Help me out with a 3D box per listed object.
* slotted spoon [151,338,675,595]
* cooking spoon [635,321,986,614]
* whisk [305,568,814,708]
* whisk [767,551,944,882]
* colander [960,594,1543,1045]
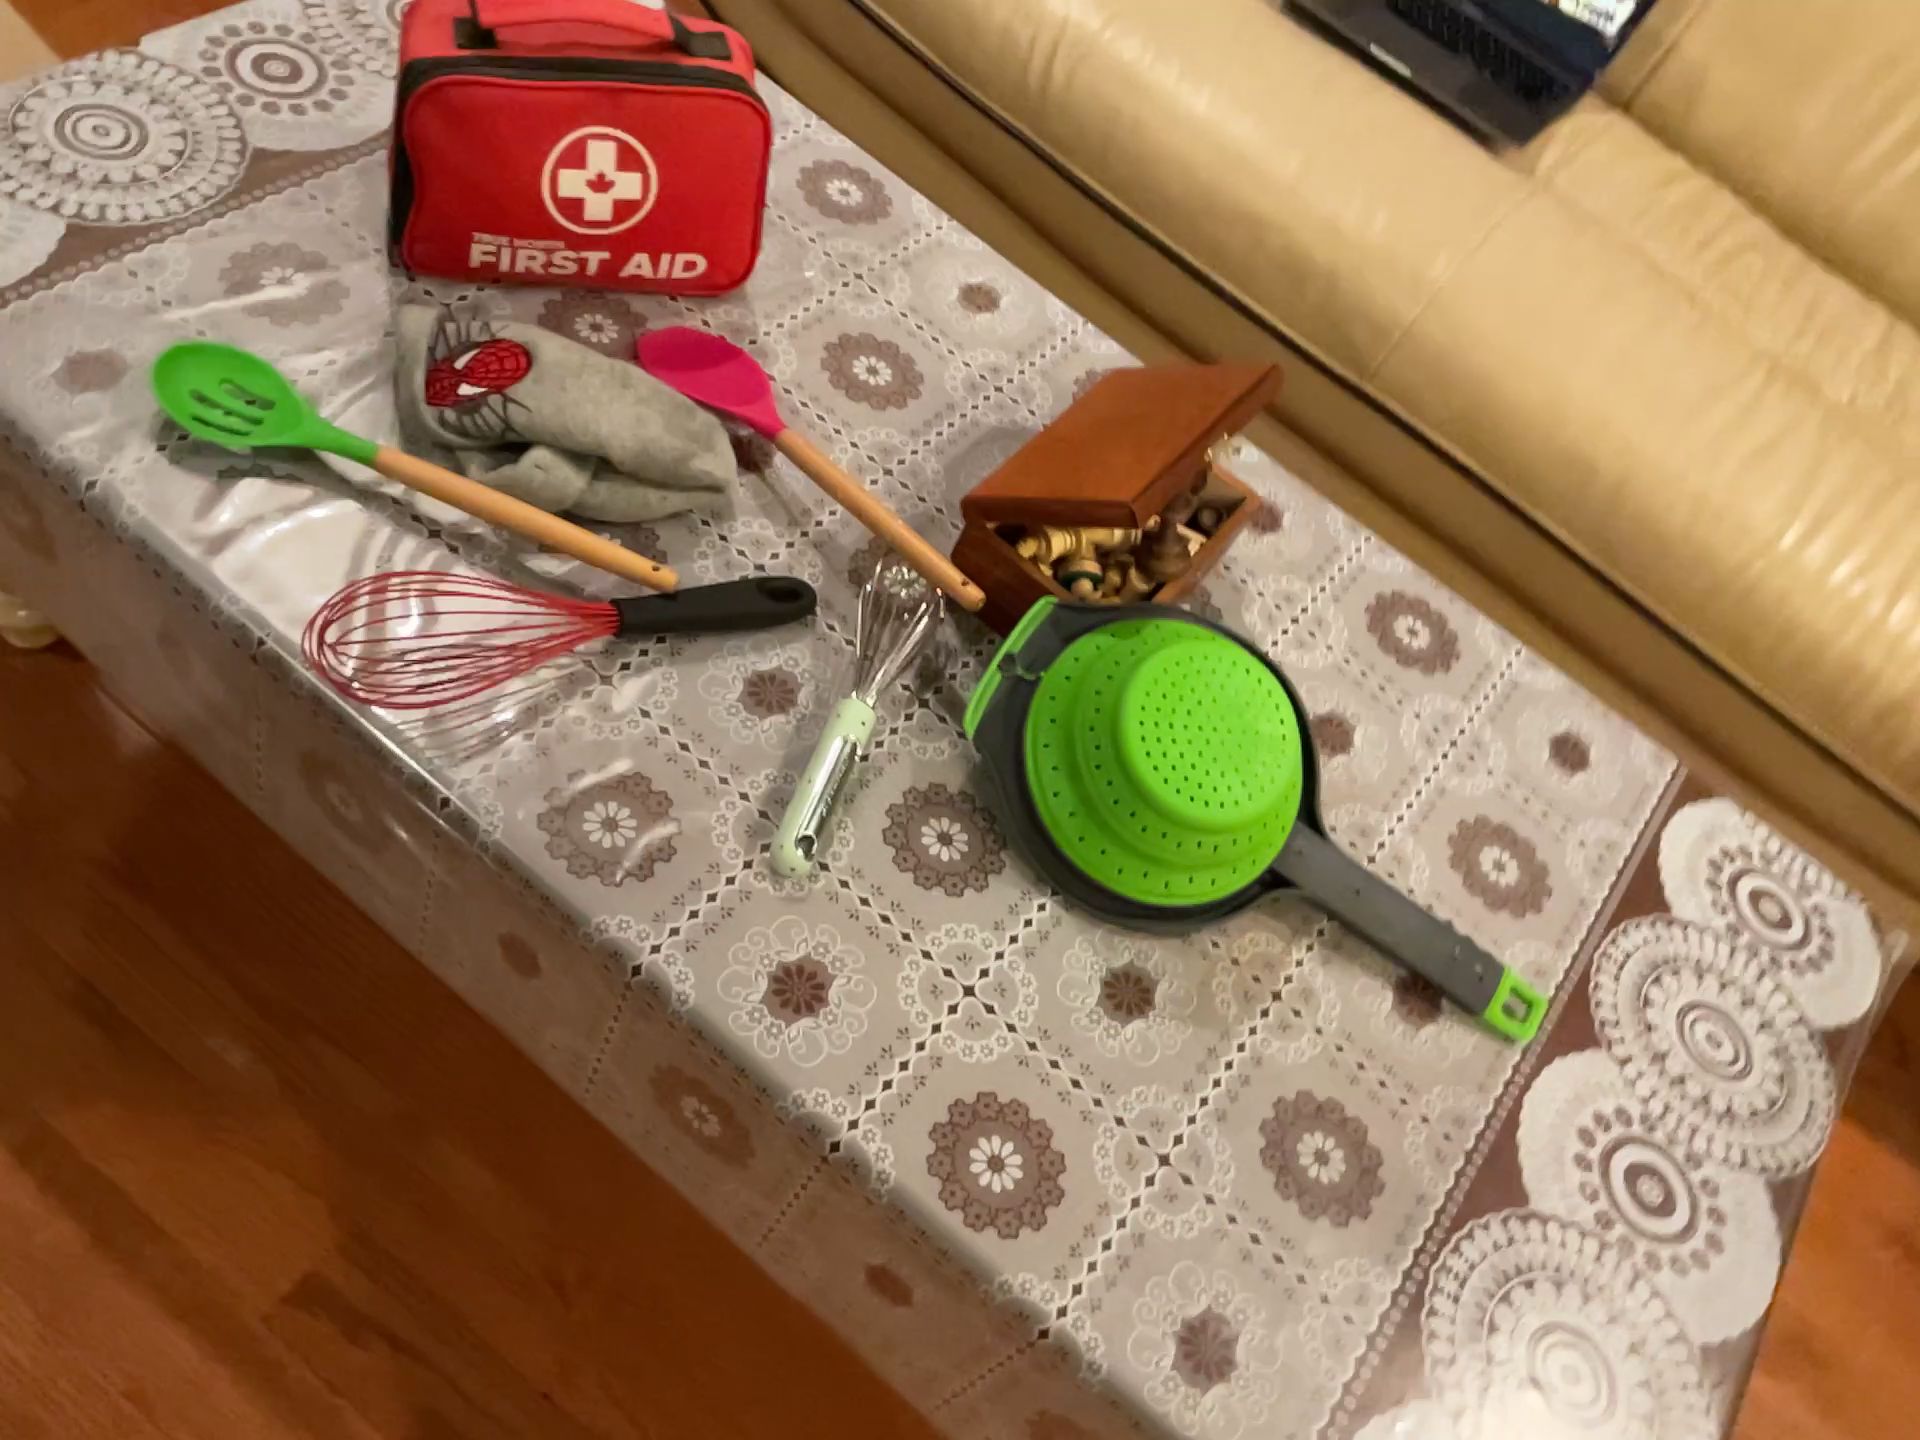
[{"bbox_3d":[-0.310,-0.138,0.912,0.313,0.031,0.070,23,51,-2],"label":"slotted spoon"},{"bbox_3d":[-0.096,-0.164,1.002,0.069,0.017,0.319,-31,61,-34],"label":"cooking spoon"},{"bbox_3d":[-0.211,-0.056,0.892,0.295,0.073,0.073,-9,54,-34],"label":"whisk"},{"bbox_3d":[-0.060,-0.006,0.929,0.058,0.059,0.247,-3,47,28],"label":"whisk"},{"bbox_3d":[0.193,0.064,0.916,0.397,0.094,0.204,35,70,-4],"label":"colander"}]
